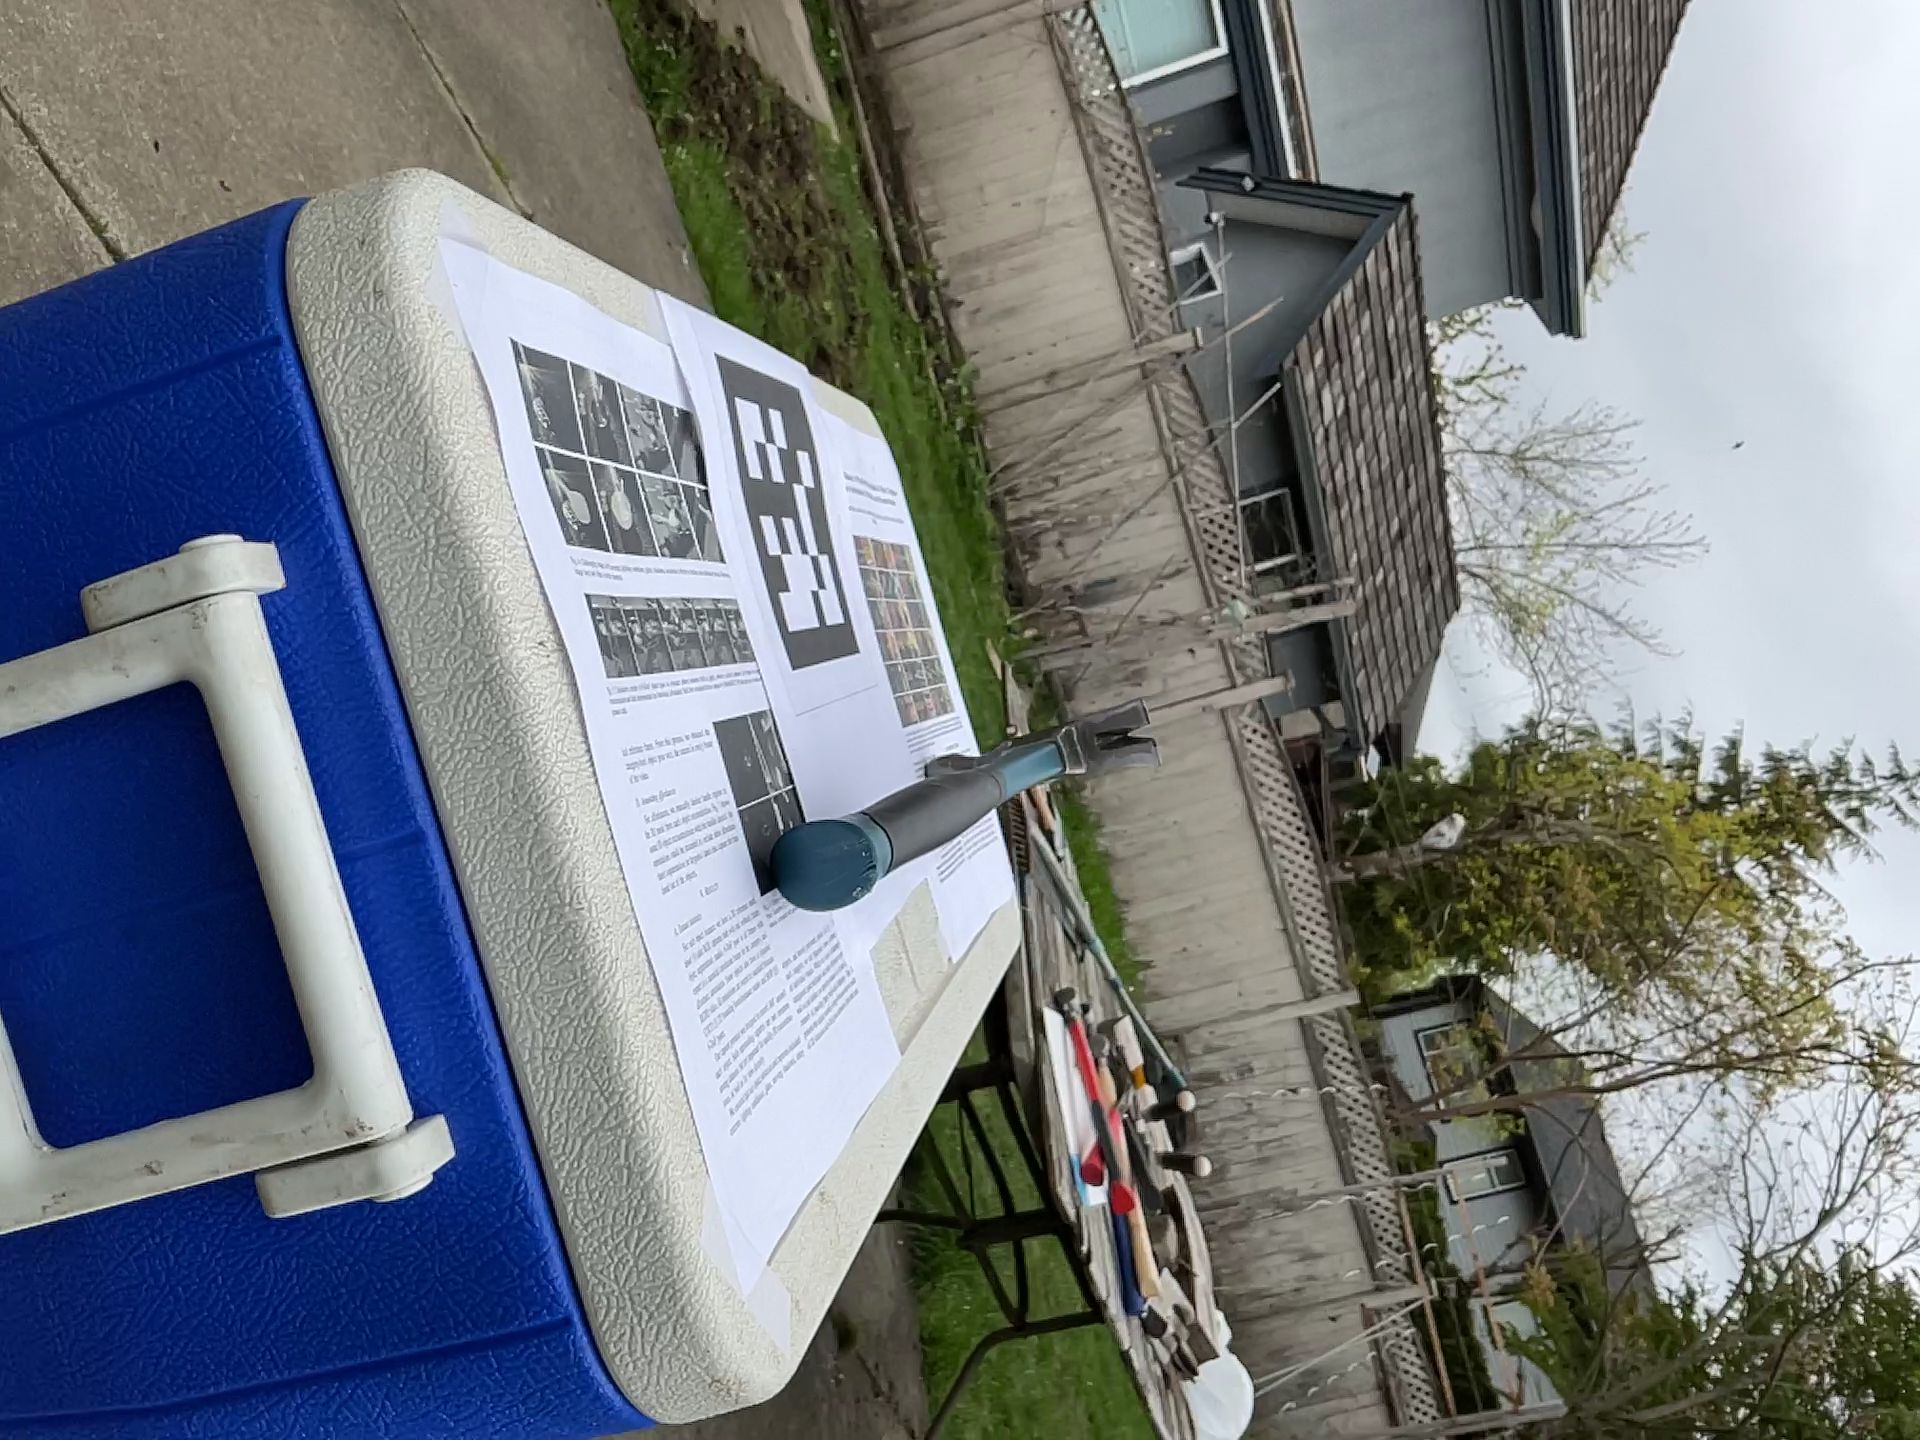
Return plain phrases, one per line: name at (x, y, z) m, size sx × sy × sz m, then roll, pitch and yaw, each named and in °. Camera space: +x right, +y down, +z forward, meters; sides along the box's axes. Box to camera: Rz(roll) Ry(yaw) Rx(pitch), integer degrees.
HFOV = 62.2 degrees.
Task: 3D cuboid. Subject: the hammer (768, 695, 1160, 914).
hammer at (0.001, 0.032, 0.667) m, size 0.331 × 0.128 × 0.033 m, roll -19°, pitch 92°, yaw -72°
